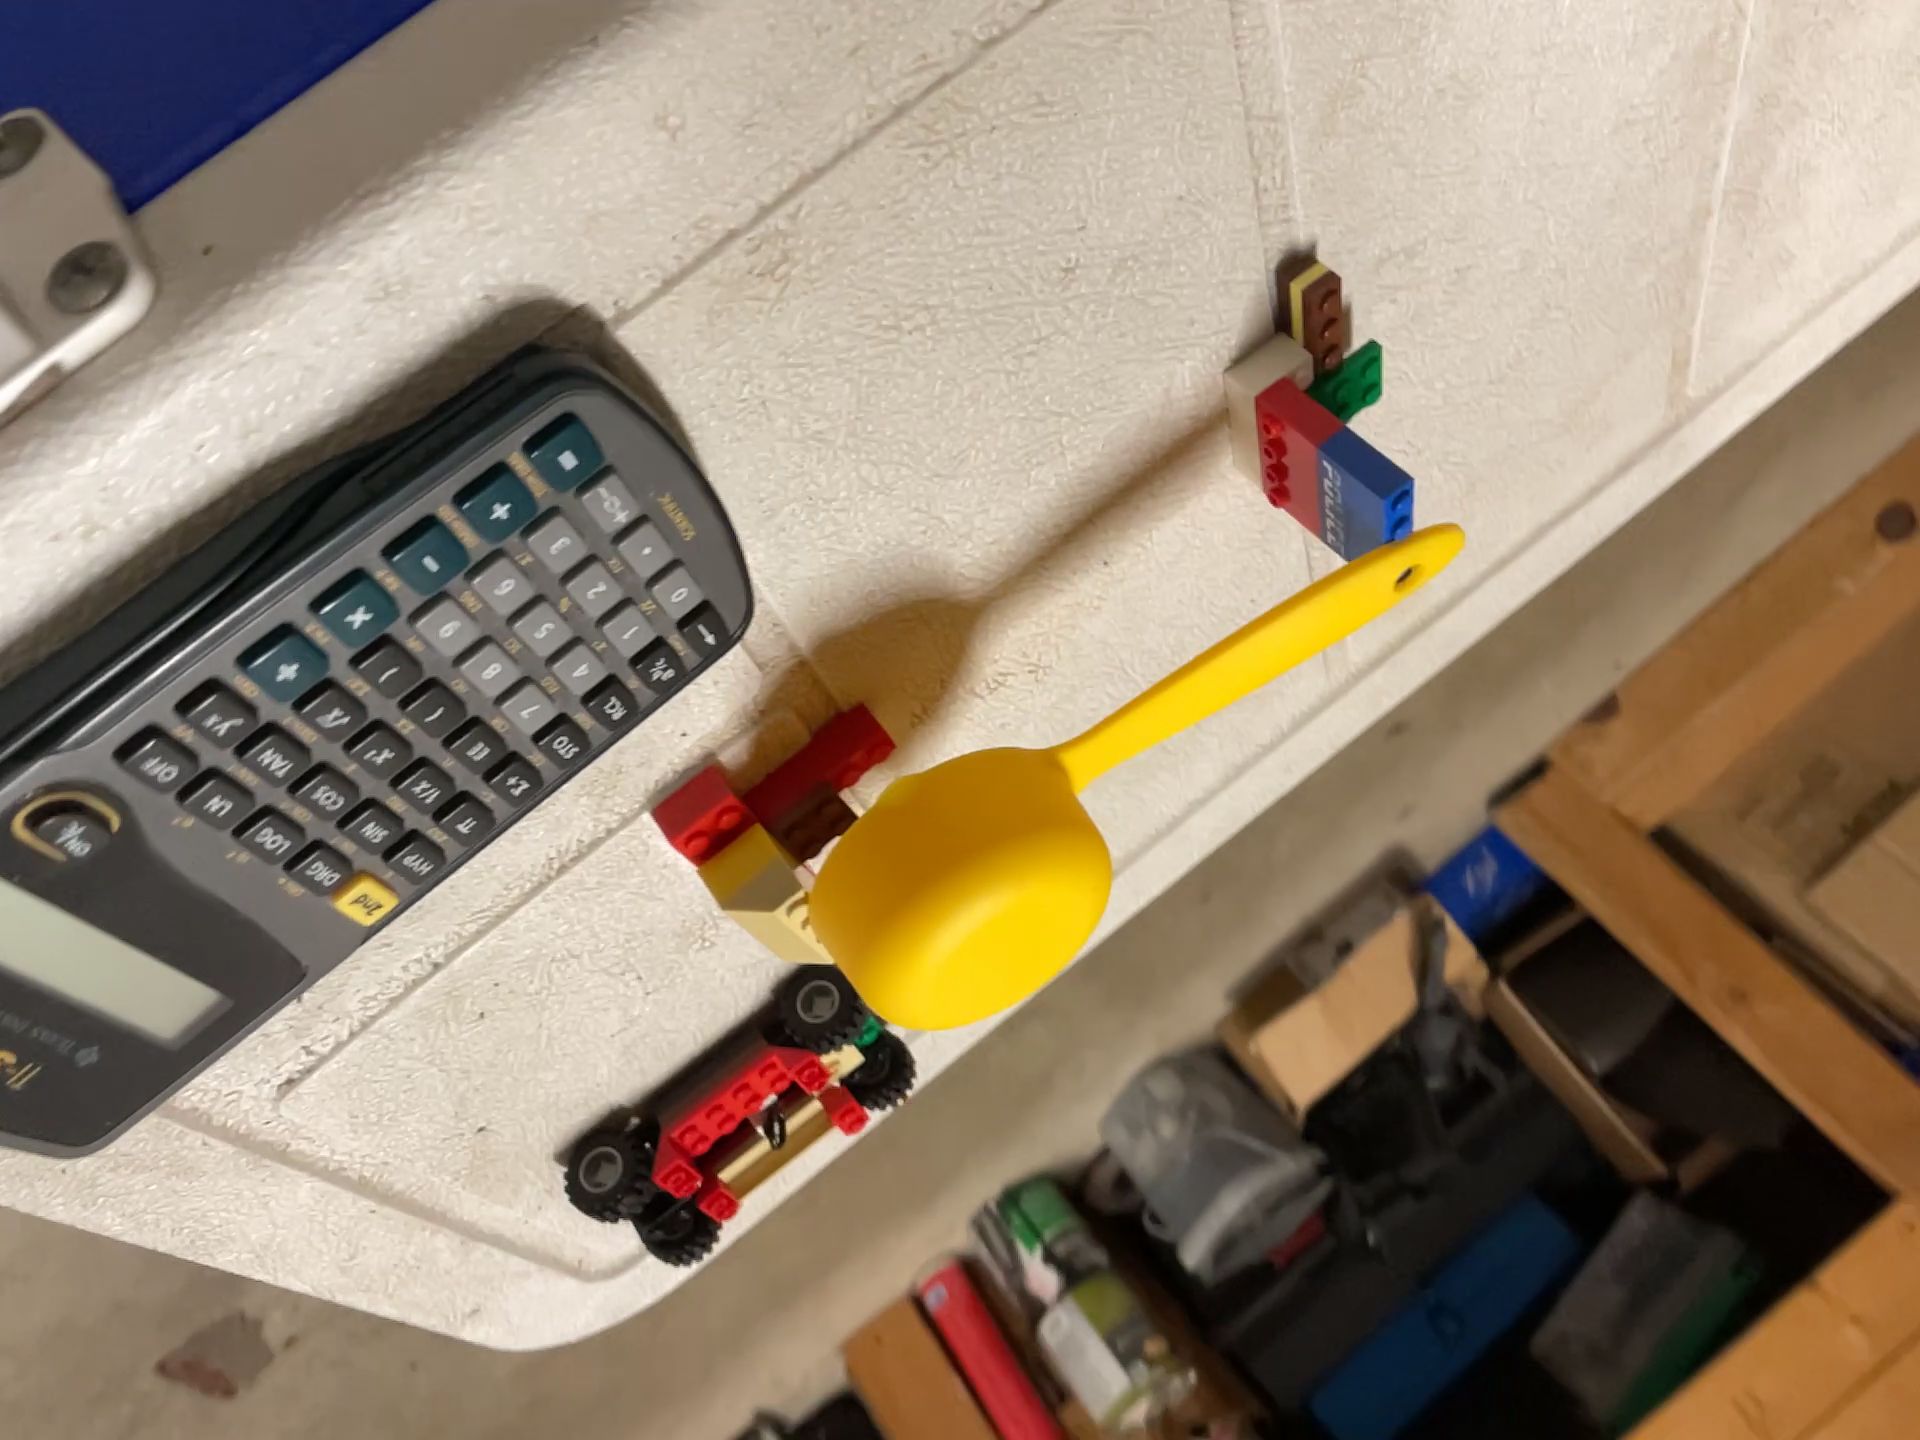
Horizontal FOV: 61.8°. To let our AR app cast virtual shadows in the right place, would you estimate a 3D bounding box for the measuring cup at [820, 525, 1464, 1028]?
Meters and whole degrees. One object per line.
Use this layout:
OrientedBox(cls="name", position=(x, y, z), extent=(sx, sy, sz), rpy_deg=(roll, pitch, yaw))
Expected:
OrientedBox(cls="measuring cup", position=(0.044, 0.011, 0.325), extent=(0.156, 0.029, 0.062), rpy_deg=(-33, 147, -3))
